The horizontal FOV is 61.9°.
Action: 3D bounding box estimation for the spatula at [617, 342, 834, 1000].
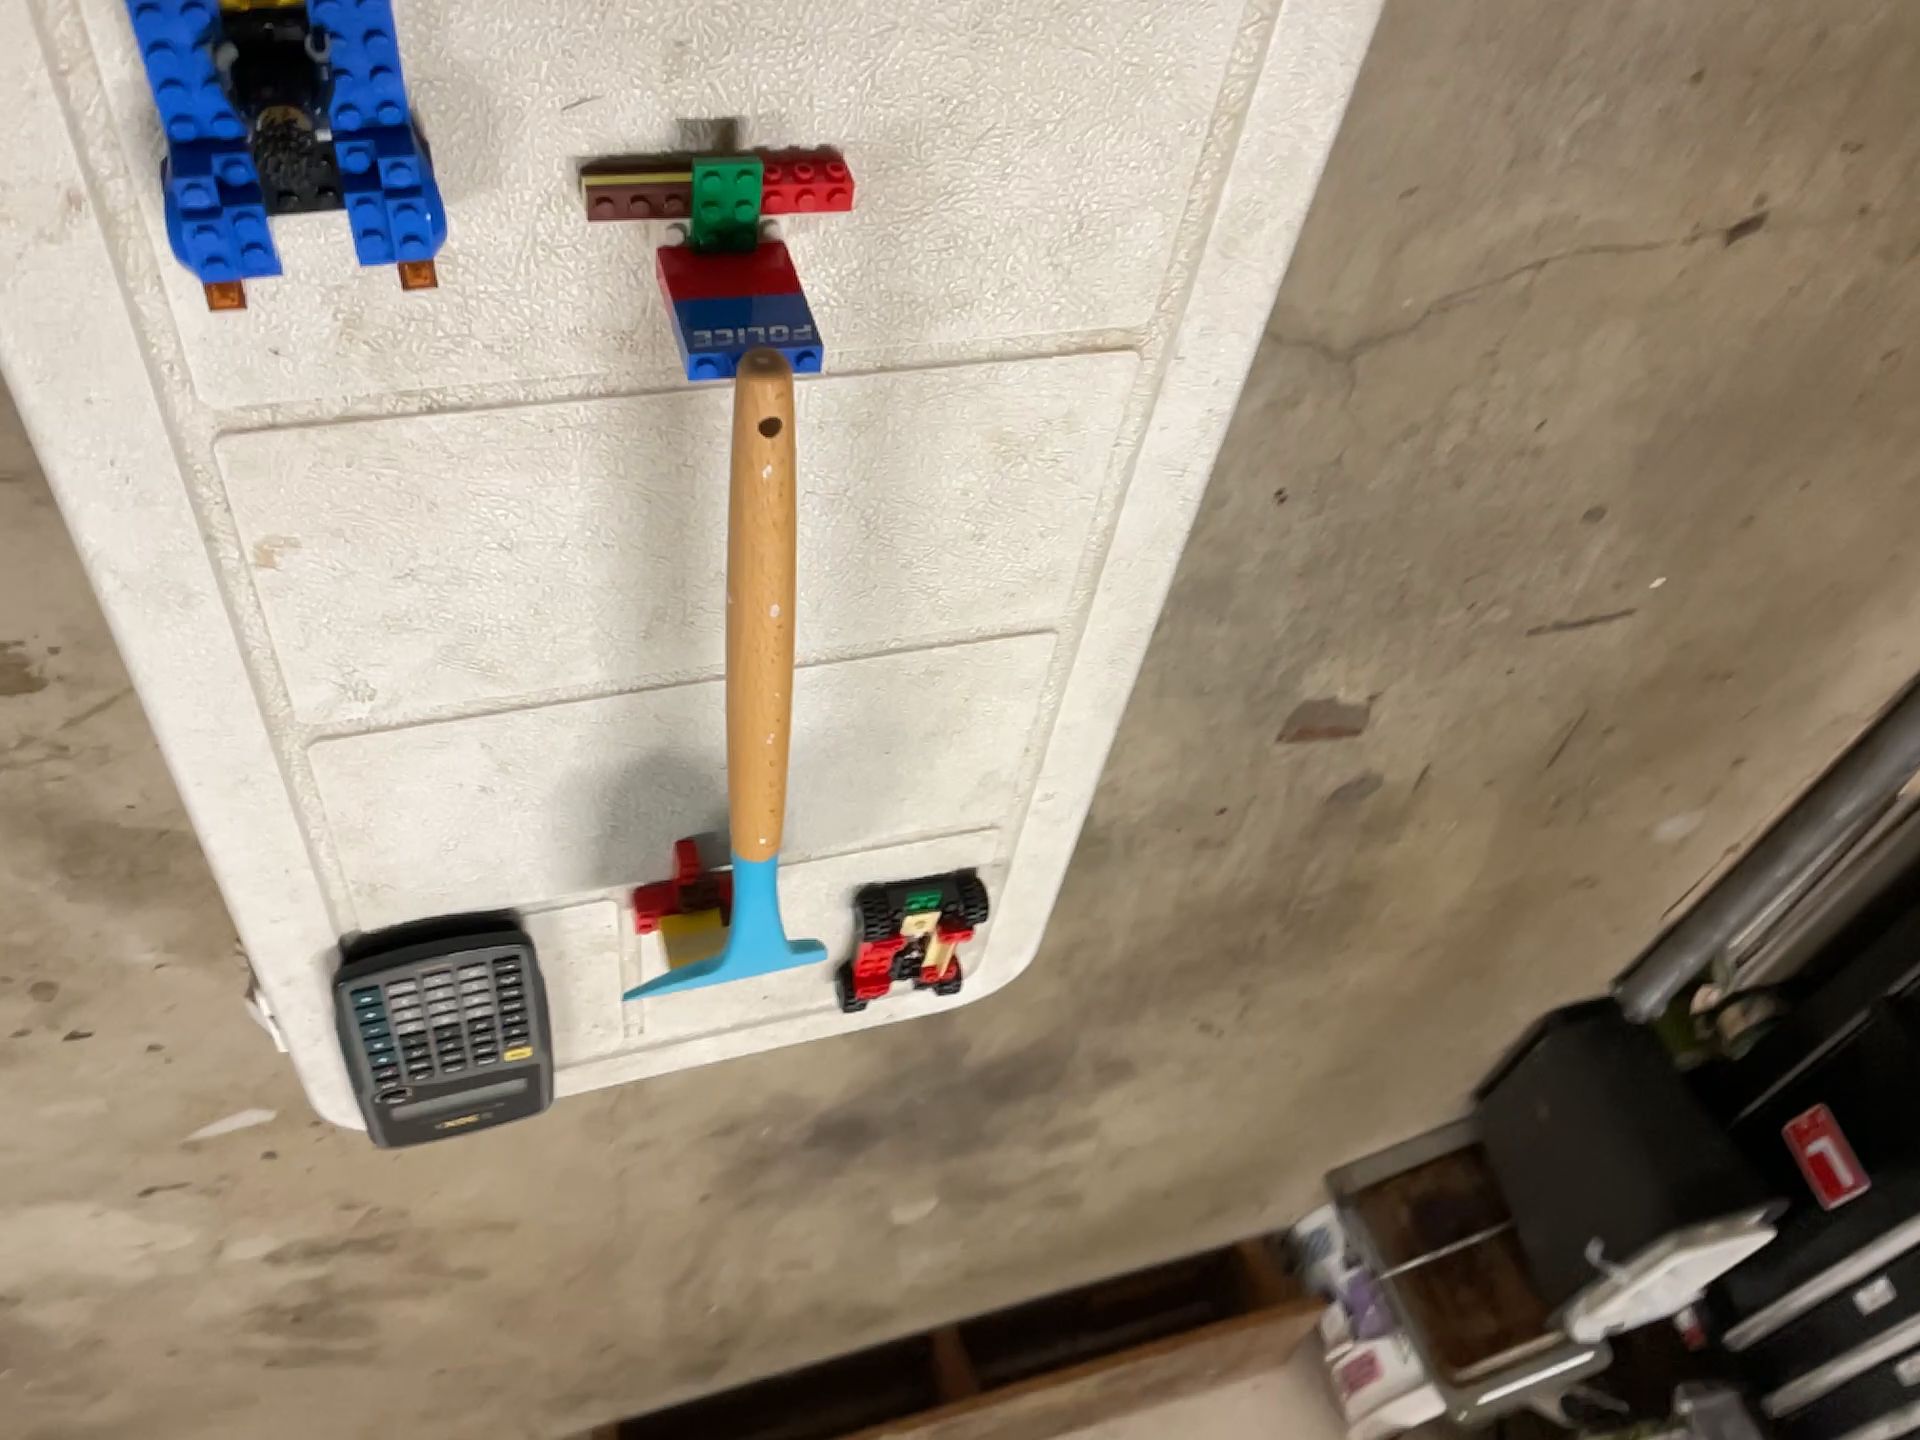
[{"bbox_3d":[-0.065,0.013,0.485,0.082,0.044,0.317,-9,141,-16],"label":"spatula"}]
